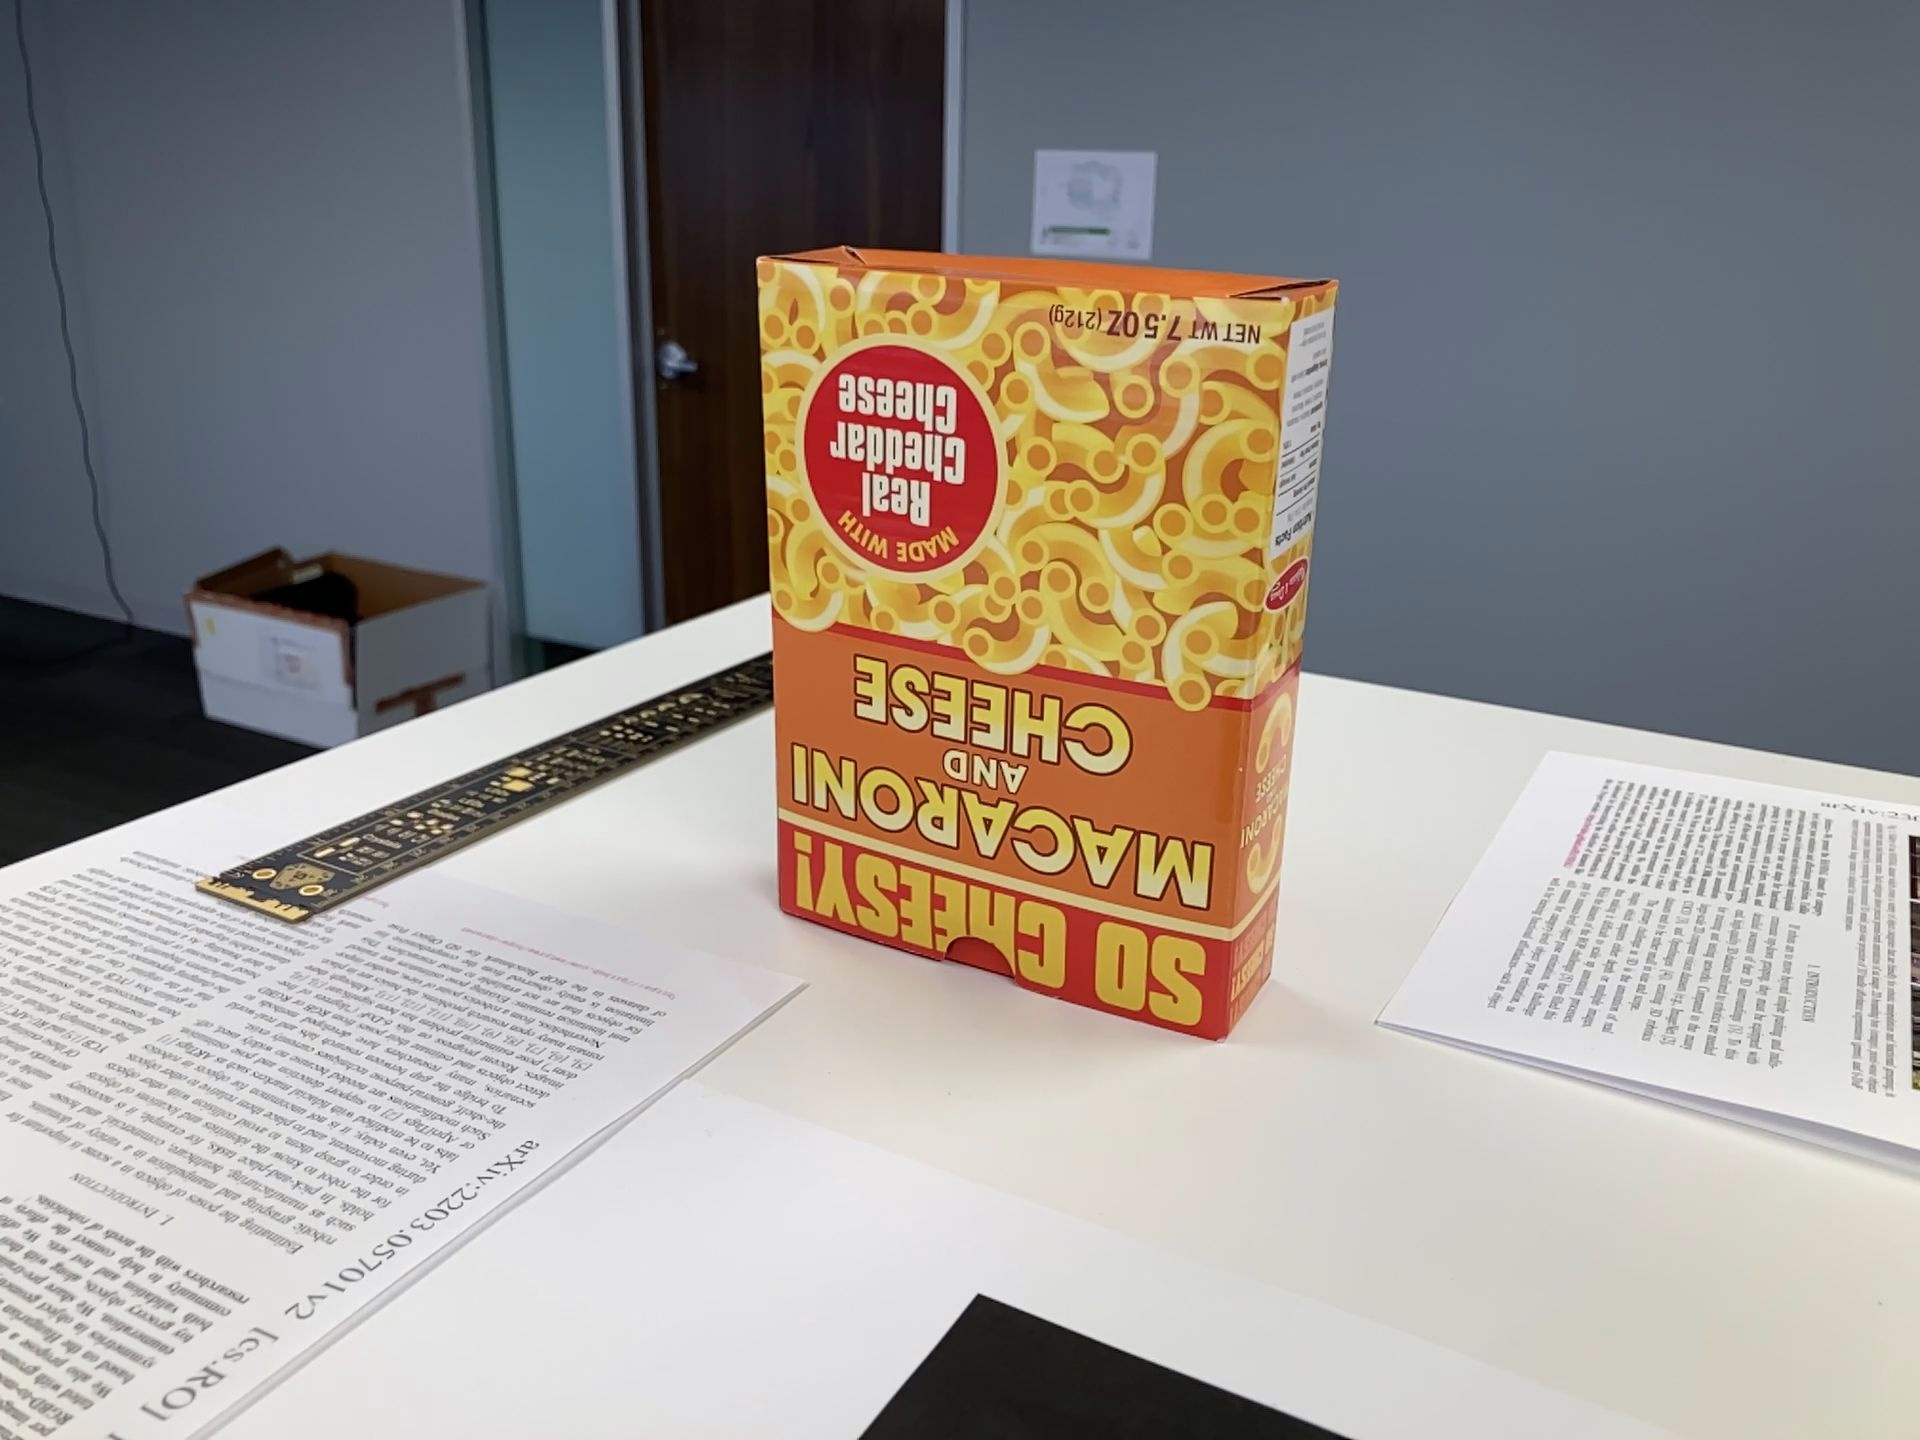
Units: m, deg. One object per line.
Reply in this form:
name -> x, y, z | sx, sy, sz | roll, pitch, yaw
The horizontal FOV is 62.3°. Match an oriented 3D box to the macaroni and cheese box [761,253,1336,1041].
macaroni and cheese box -> 0.014, -0.019, 0.374 | 0.124, 0.166, 0.040 | 12, 24, 26
